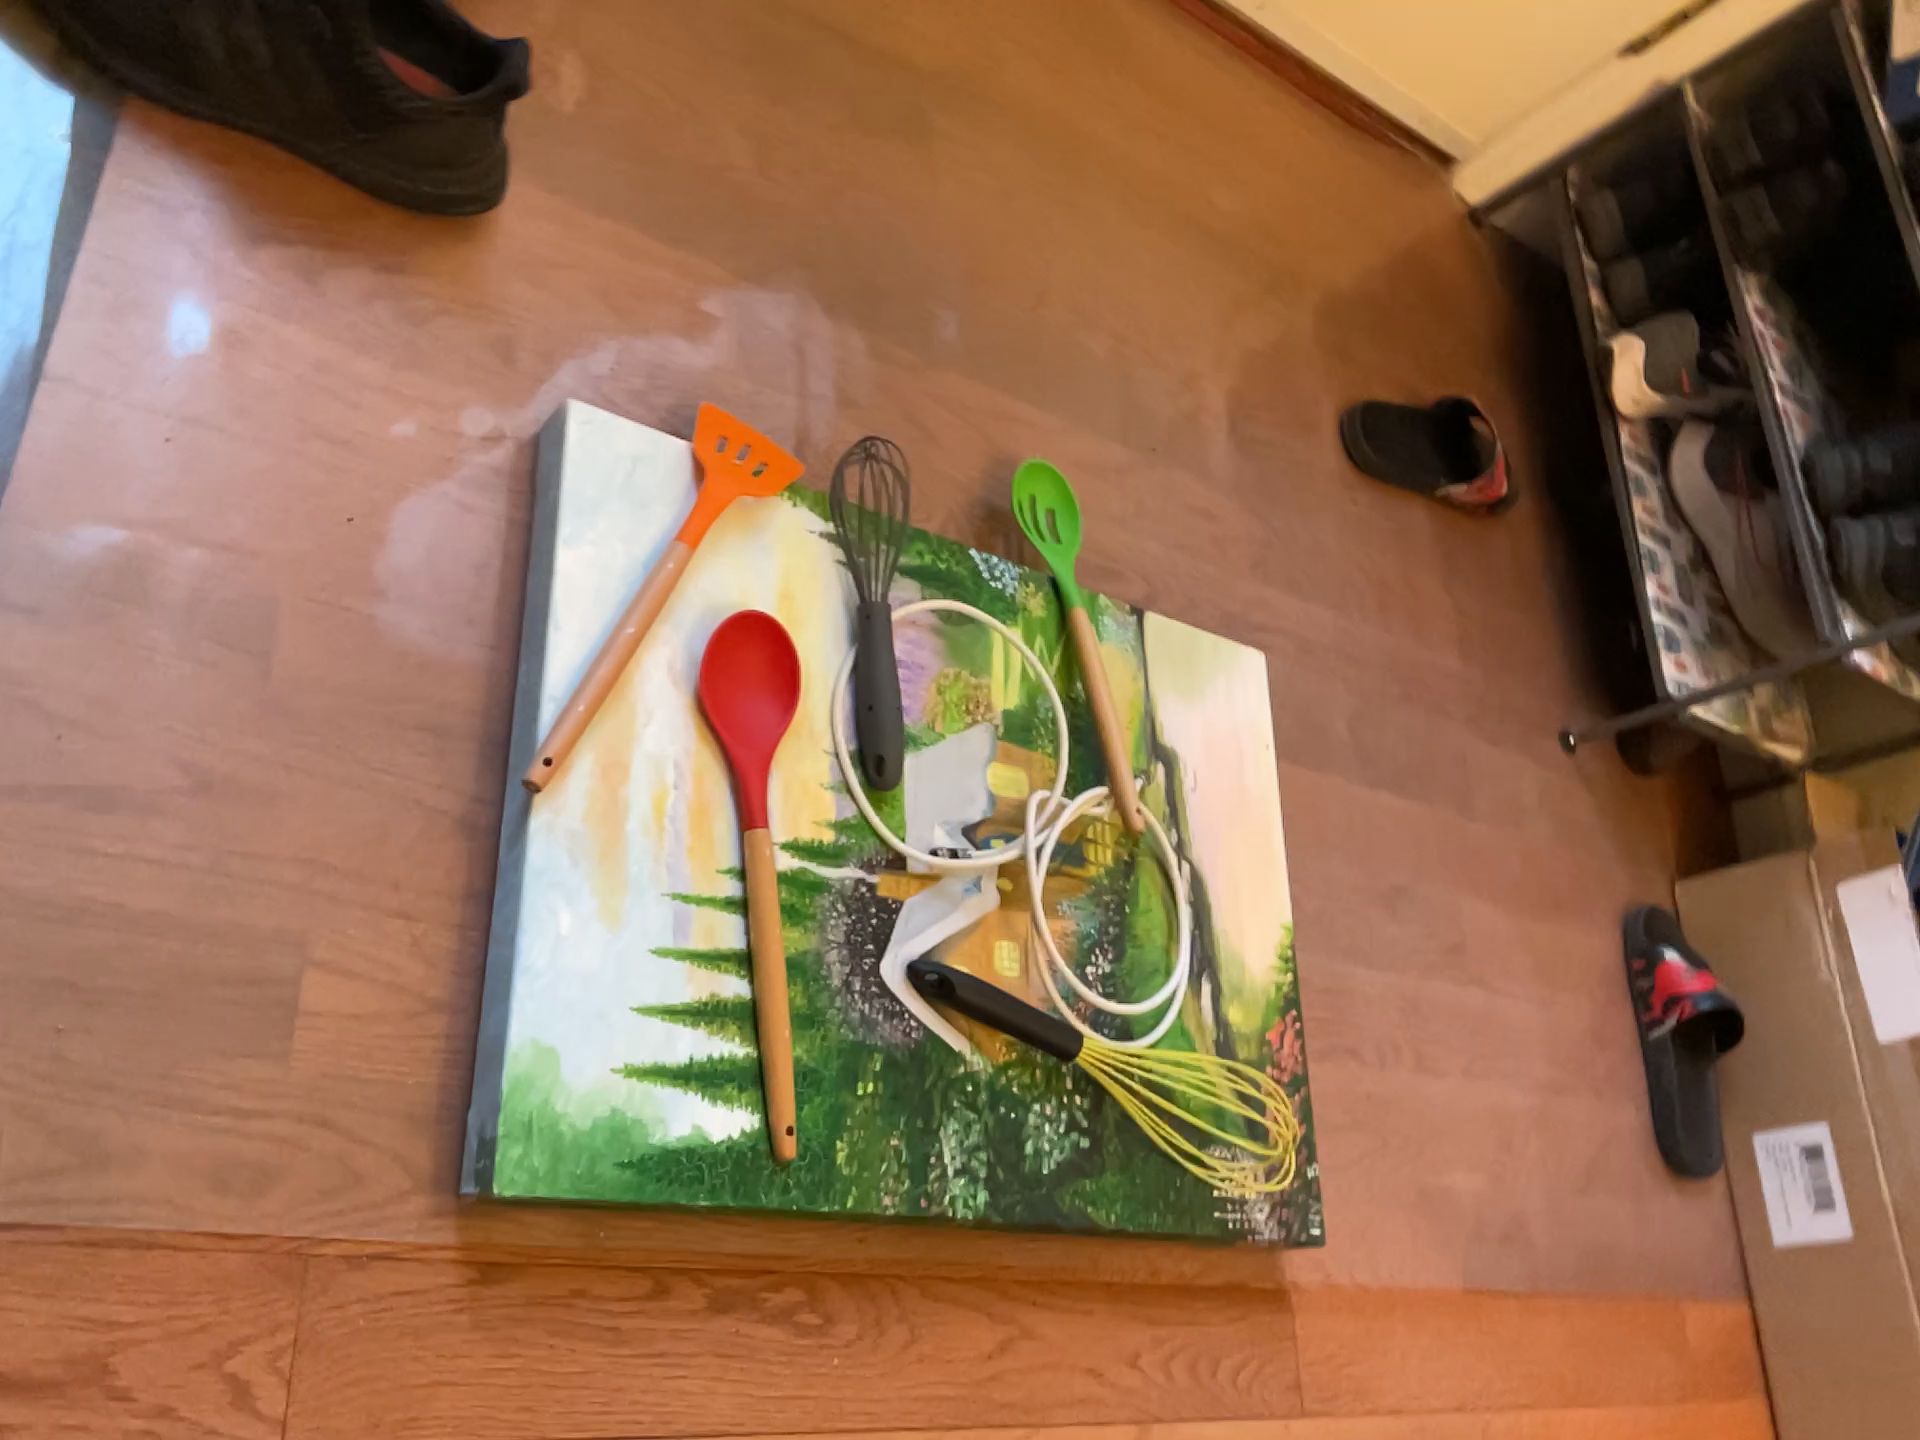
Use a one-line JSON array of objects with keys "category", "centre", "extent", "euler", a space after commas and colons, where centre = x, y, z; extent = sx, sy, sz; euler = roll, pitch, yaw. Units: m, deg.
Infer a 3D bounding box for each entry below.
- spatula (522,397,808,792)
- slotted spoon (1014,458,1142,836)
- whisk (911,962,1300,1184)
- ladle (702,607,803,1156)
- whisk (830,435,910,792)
[{"category": "spatula", "centre": [-0.178, -0.082, 0.947], "extent": [0.081, 0.041, 0.323], "euler": [33, 54, -12]}, {"category": "slotted spoon", "centre": [0.087, -0.058, 1.142], "extent": [0.070, 0.031, 0.314], "euler": [14, 52, -37]}, {"category": "whisk", "centre": [0.097, 0.222, 1.023], "extent": [0.311, 0.067, 0.080], "euler": [29, 49, -21]}, {"category": "ladle", "centre": [-0.113, 0.088, 0.916], "extent": [0.069, 0.031, 0.316], "euler": [6, 70, -38]}, {"category": "whisk", "centre": [-0.053, -0.072, 1.024], "extent": [0.055, 0.055, 0.239], "euler": [3, 75, -29]}]
